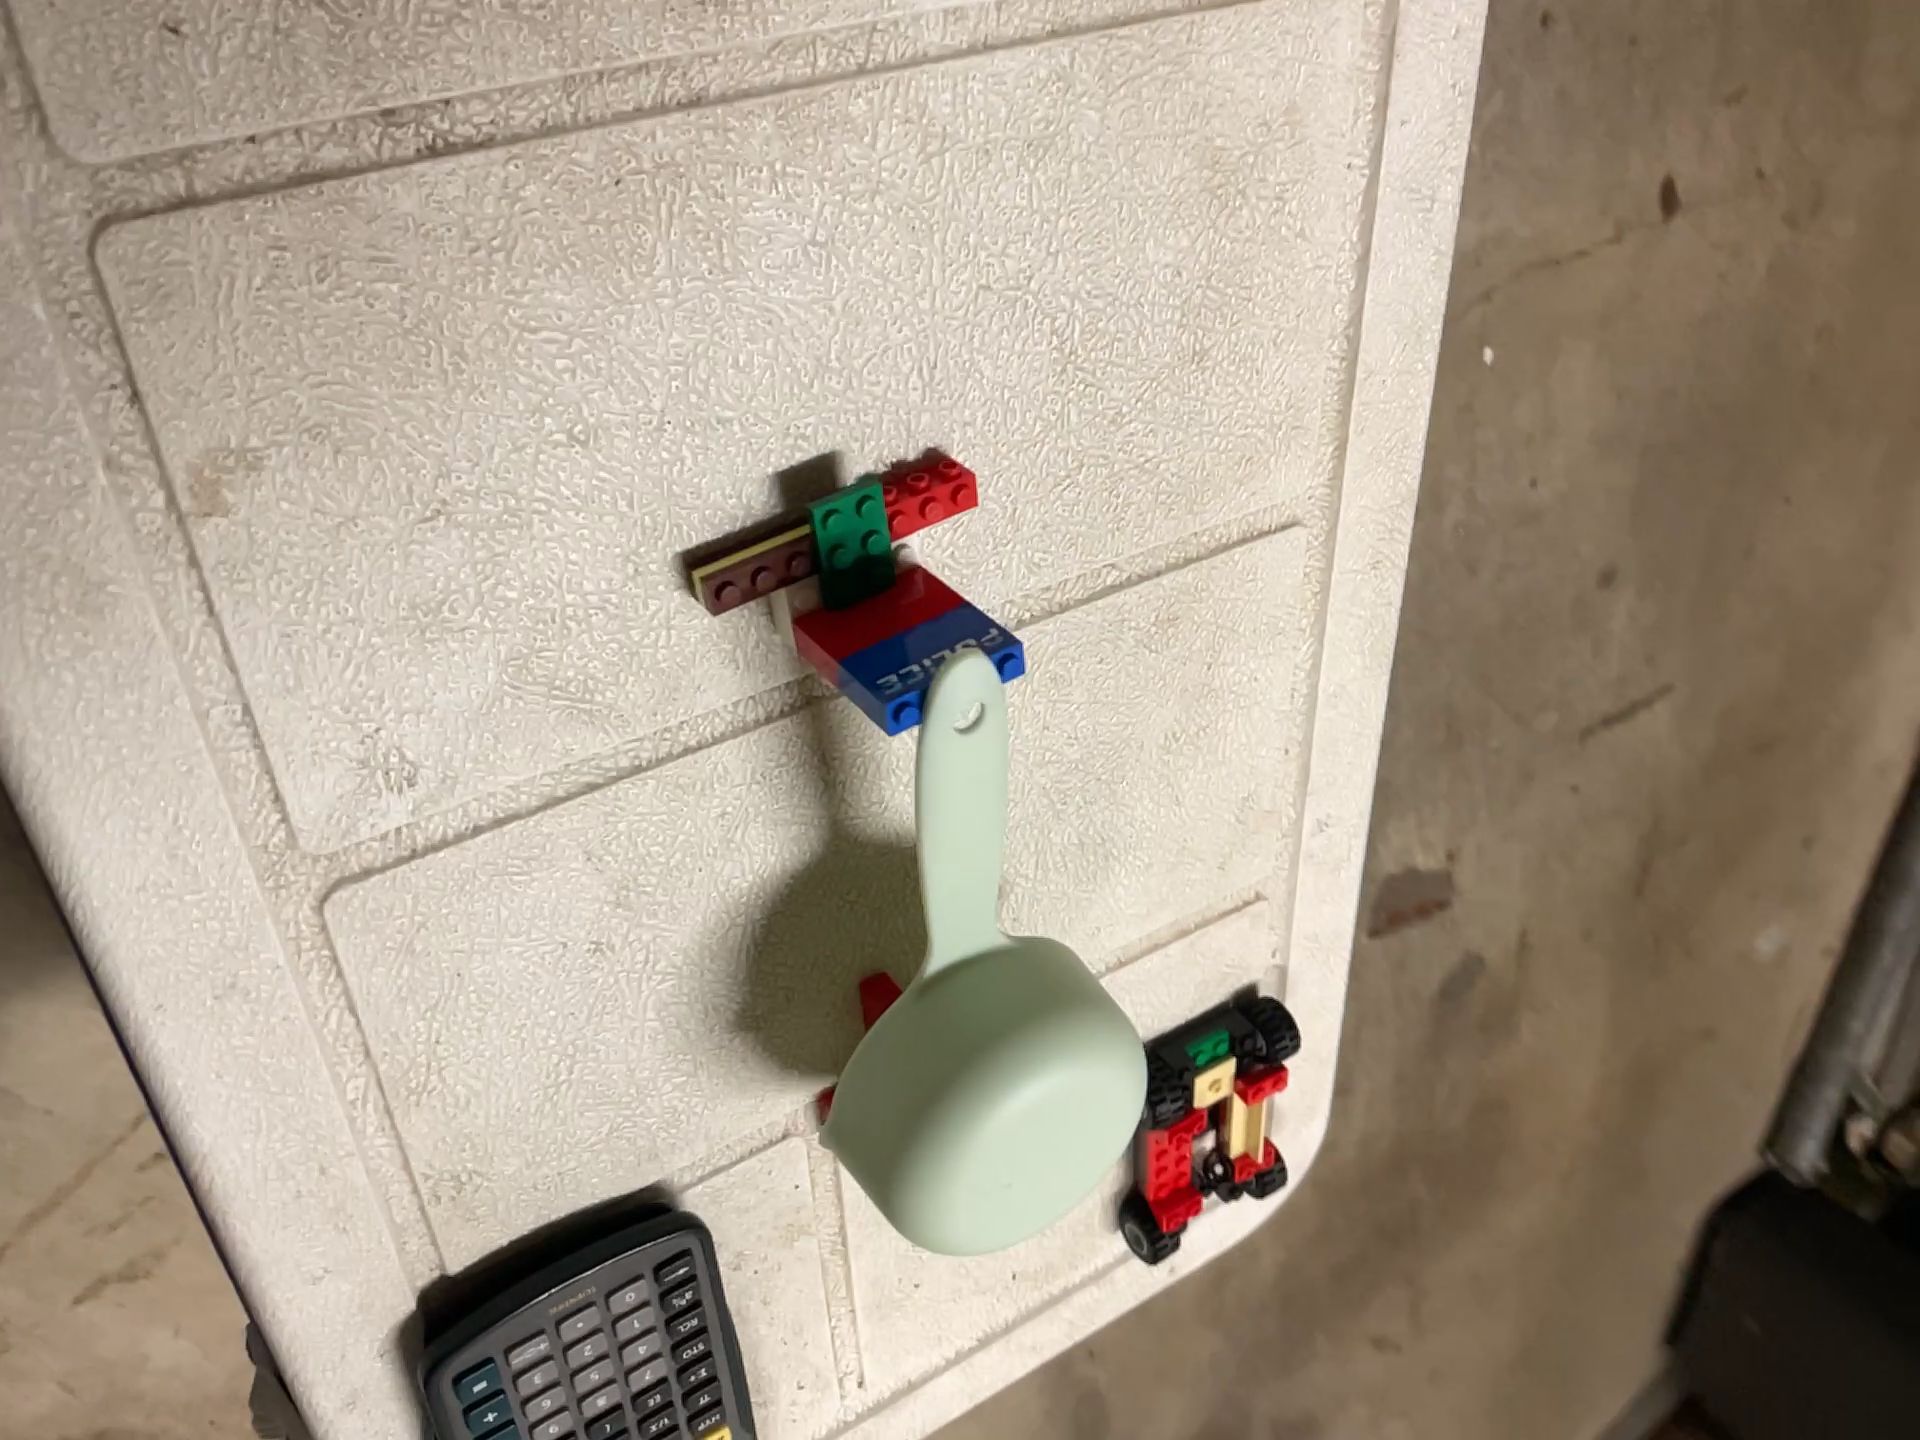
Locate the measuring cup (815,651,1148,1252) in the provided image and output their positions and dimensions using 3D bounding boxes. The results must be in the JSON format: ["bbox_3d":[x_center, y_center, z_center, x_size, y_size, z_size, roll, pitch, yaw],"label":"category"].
[{"bbox_3d":[0.010,0.058,0.354,0.083,0.038,0.167,-23,136,-24],"label":"measuring cup"}]
